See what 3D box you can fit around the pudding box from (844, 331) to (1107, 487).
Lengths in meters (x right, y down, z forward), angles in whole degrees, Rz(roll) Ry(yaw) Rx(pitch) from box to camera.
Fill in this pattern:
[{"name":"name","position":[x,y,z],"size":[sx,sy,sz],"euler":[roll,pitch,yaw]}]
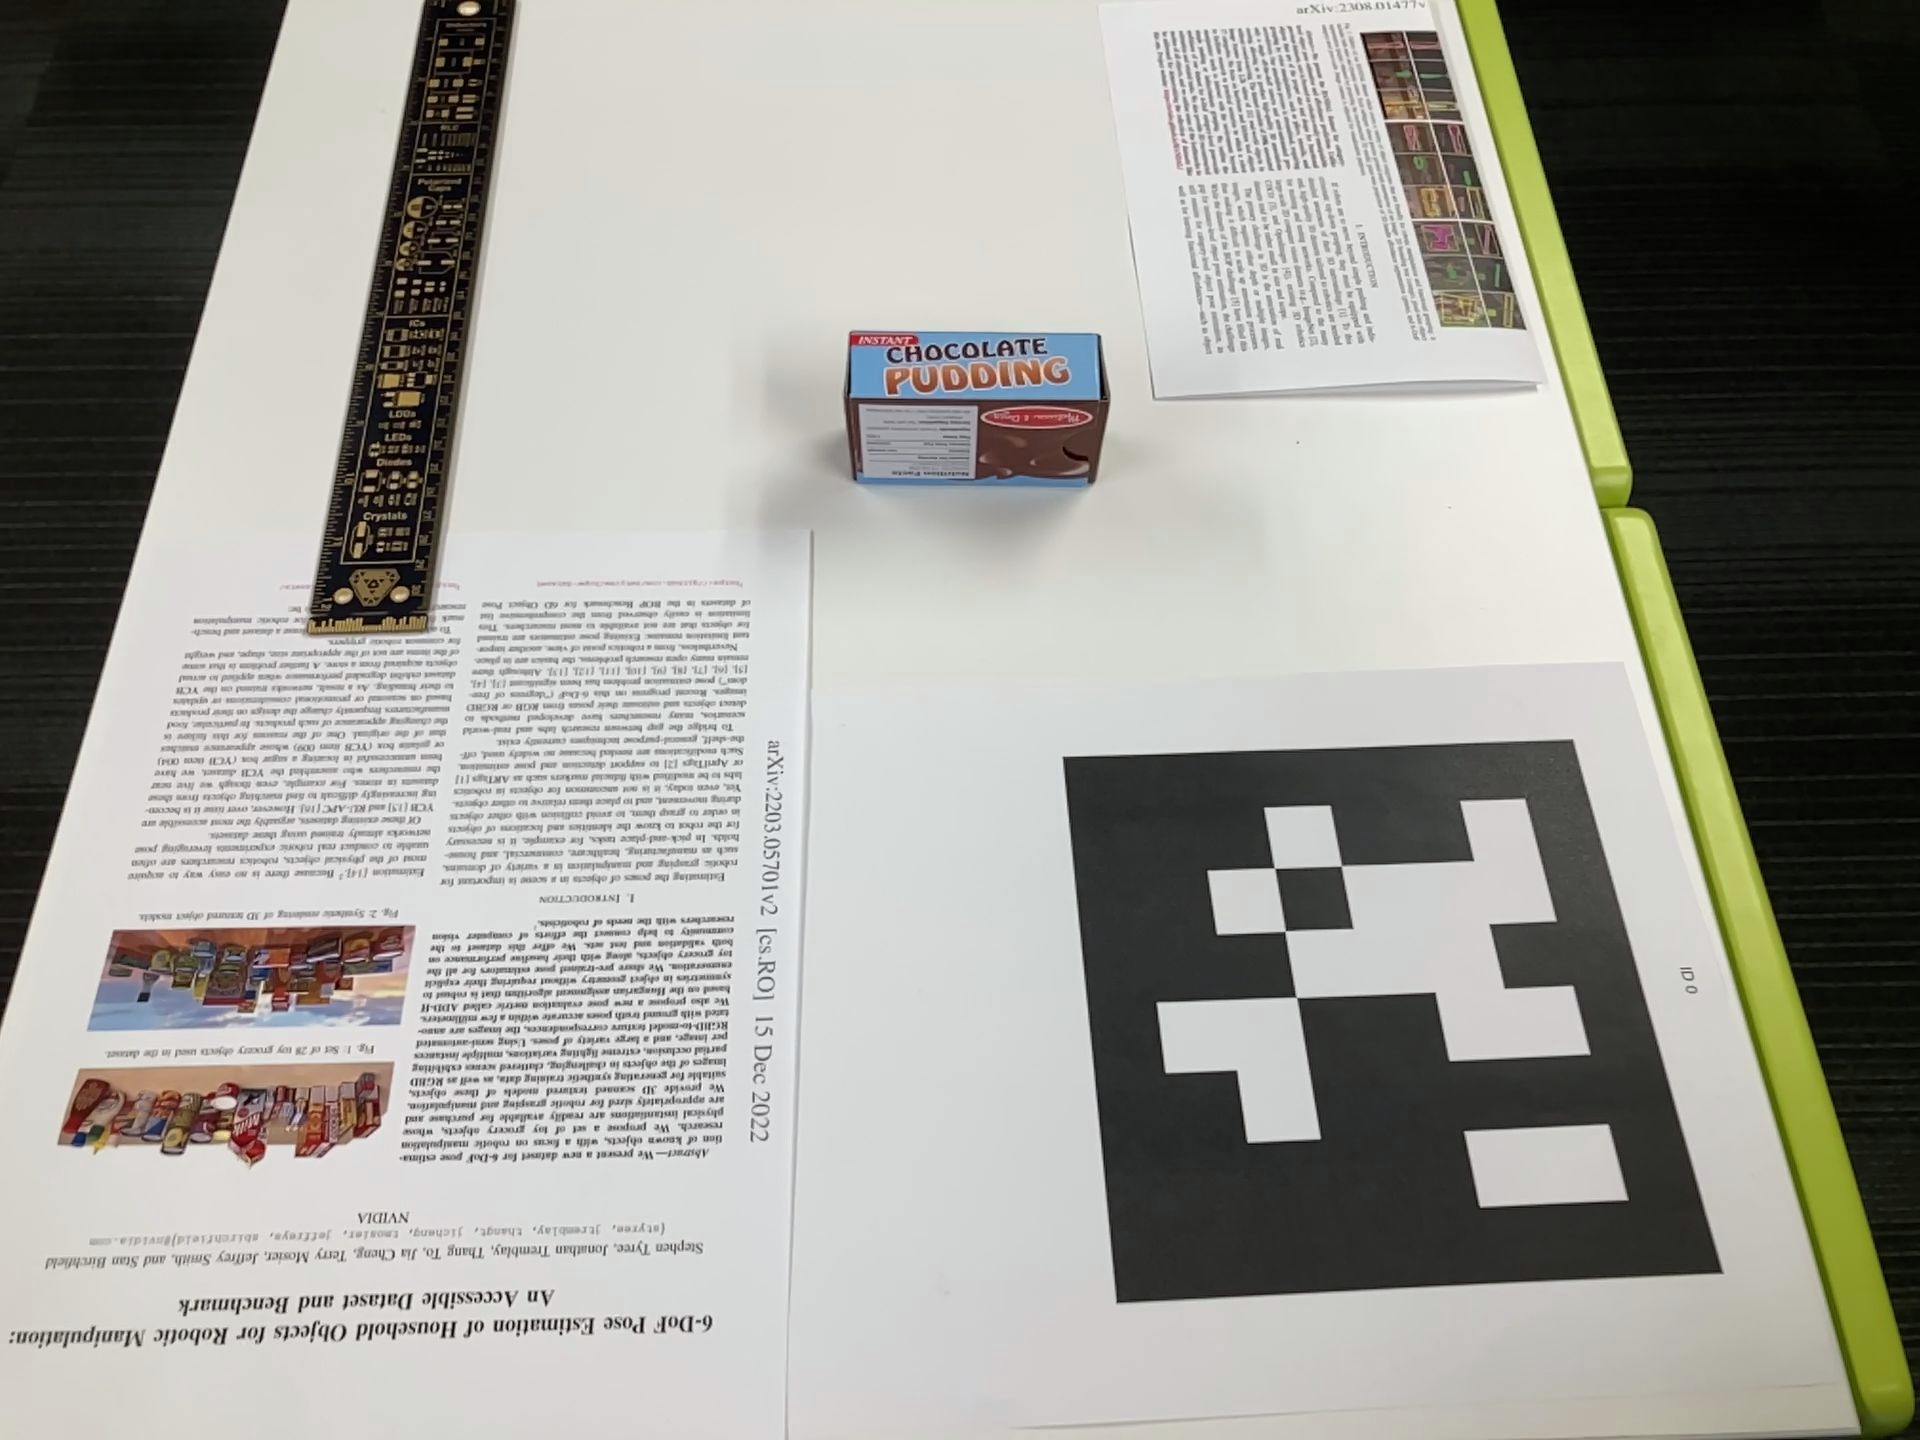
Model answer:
[{"name":"pudding box","position":[0.004,-0.103,0.532],"size":[0.083,0.049,0.030],"euler":[0,63,-1]}]
